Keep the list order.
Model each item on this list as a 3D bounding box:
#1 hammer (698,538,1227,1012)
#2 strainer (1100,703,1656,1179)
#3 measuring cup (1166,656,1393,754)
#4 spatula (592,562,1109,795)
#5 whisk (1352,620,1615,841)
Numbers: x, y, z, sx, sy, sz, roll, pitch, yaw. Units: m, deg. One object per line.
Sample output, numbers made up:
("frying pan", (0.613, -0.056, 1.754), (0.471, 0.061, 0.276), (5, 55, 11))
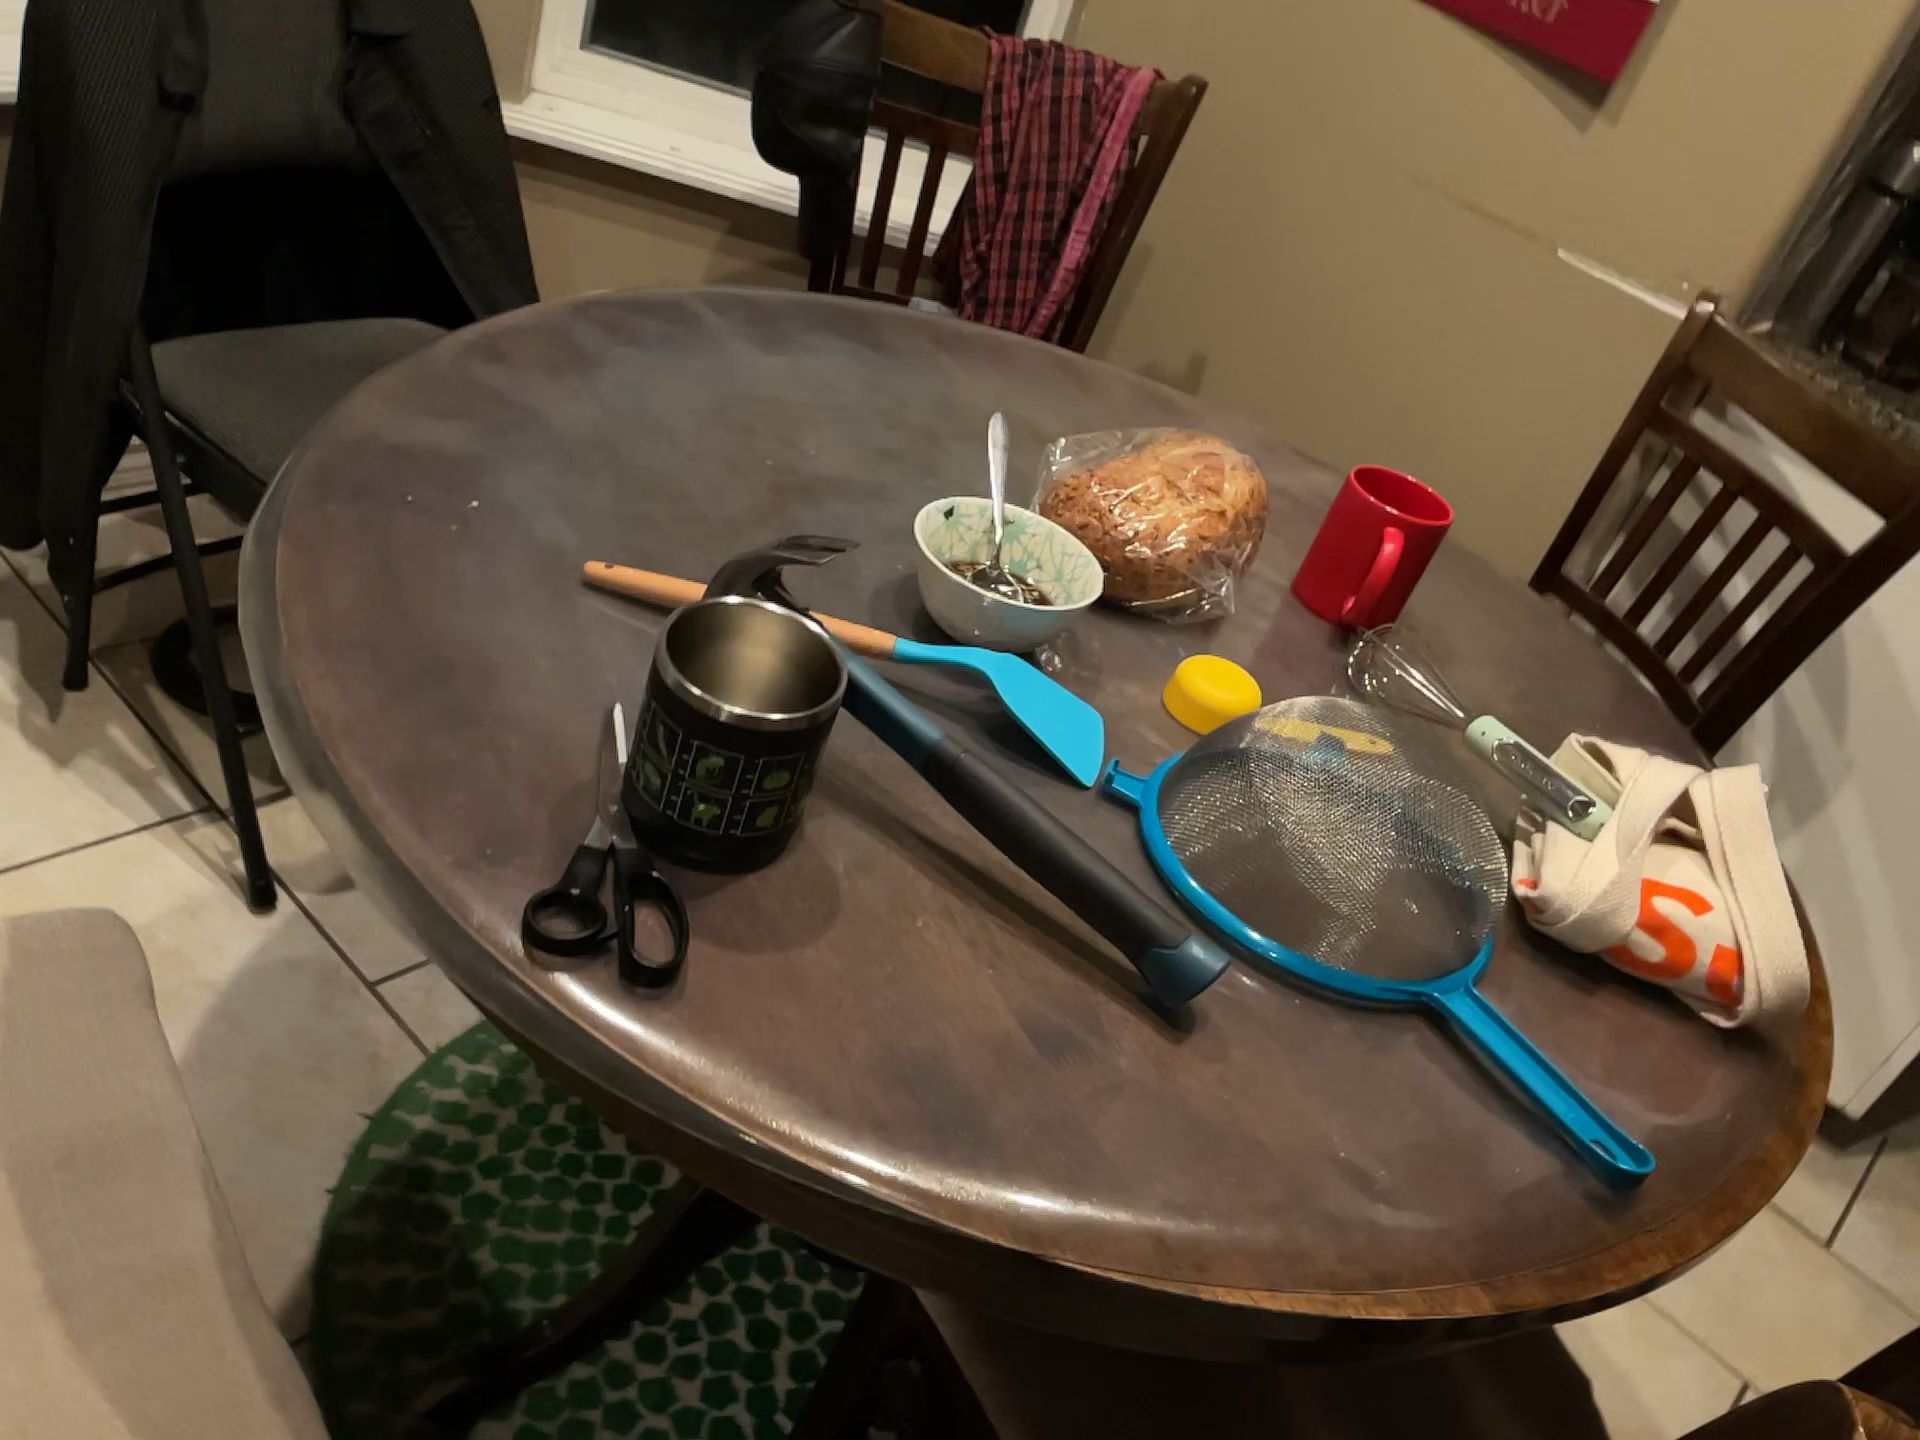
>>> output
("hammer", (-0.005, 0.029, 0.810), (0.331, 0.128, 0.033), (40, 40, 13))
("strainer", (0.245, 0.088, 0.849), (0.211, 0.095, 0.340), (-7, 38, -34))
("measuring cup", (0.209, -0.007, 1.021), (0.156, 0.029, 0.062), (12, 35, -10))
("spatula", (-0.061, -0.036, 0.930), (0.317, 0.044, 0.082), (16, 34, 0))
("whisk", (0.330, 0.003, 1.030), (0.059, 0.058, 0.246), (35, 11, -38))
